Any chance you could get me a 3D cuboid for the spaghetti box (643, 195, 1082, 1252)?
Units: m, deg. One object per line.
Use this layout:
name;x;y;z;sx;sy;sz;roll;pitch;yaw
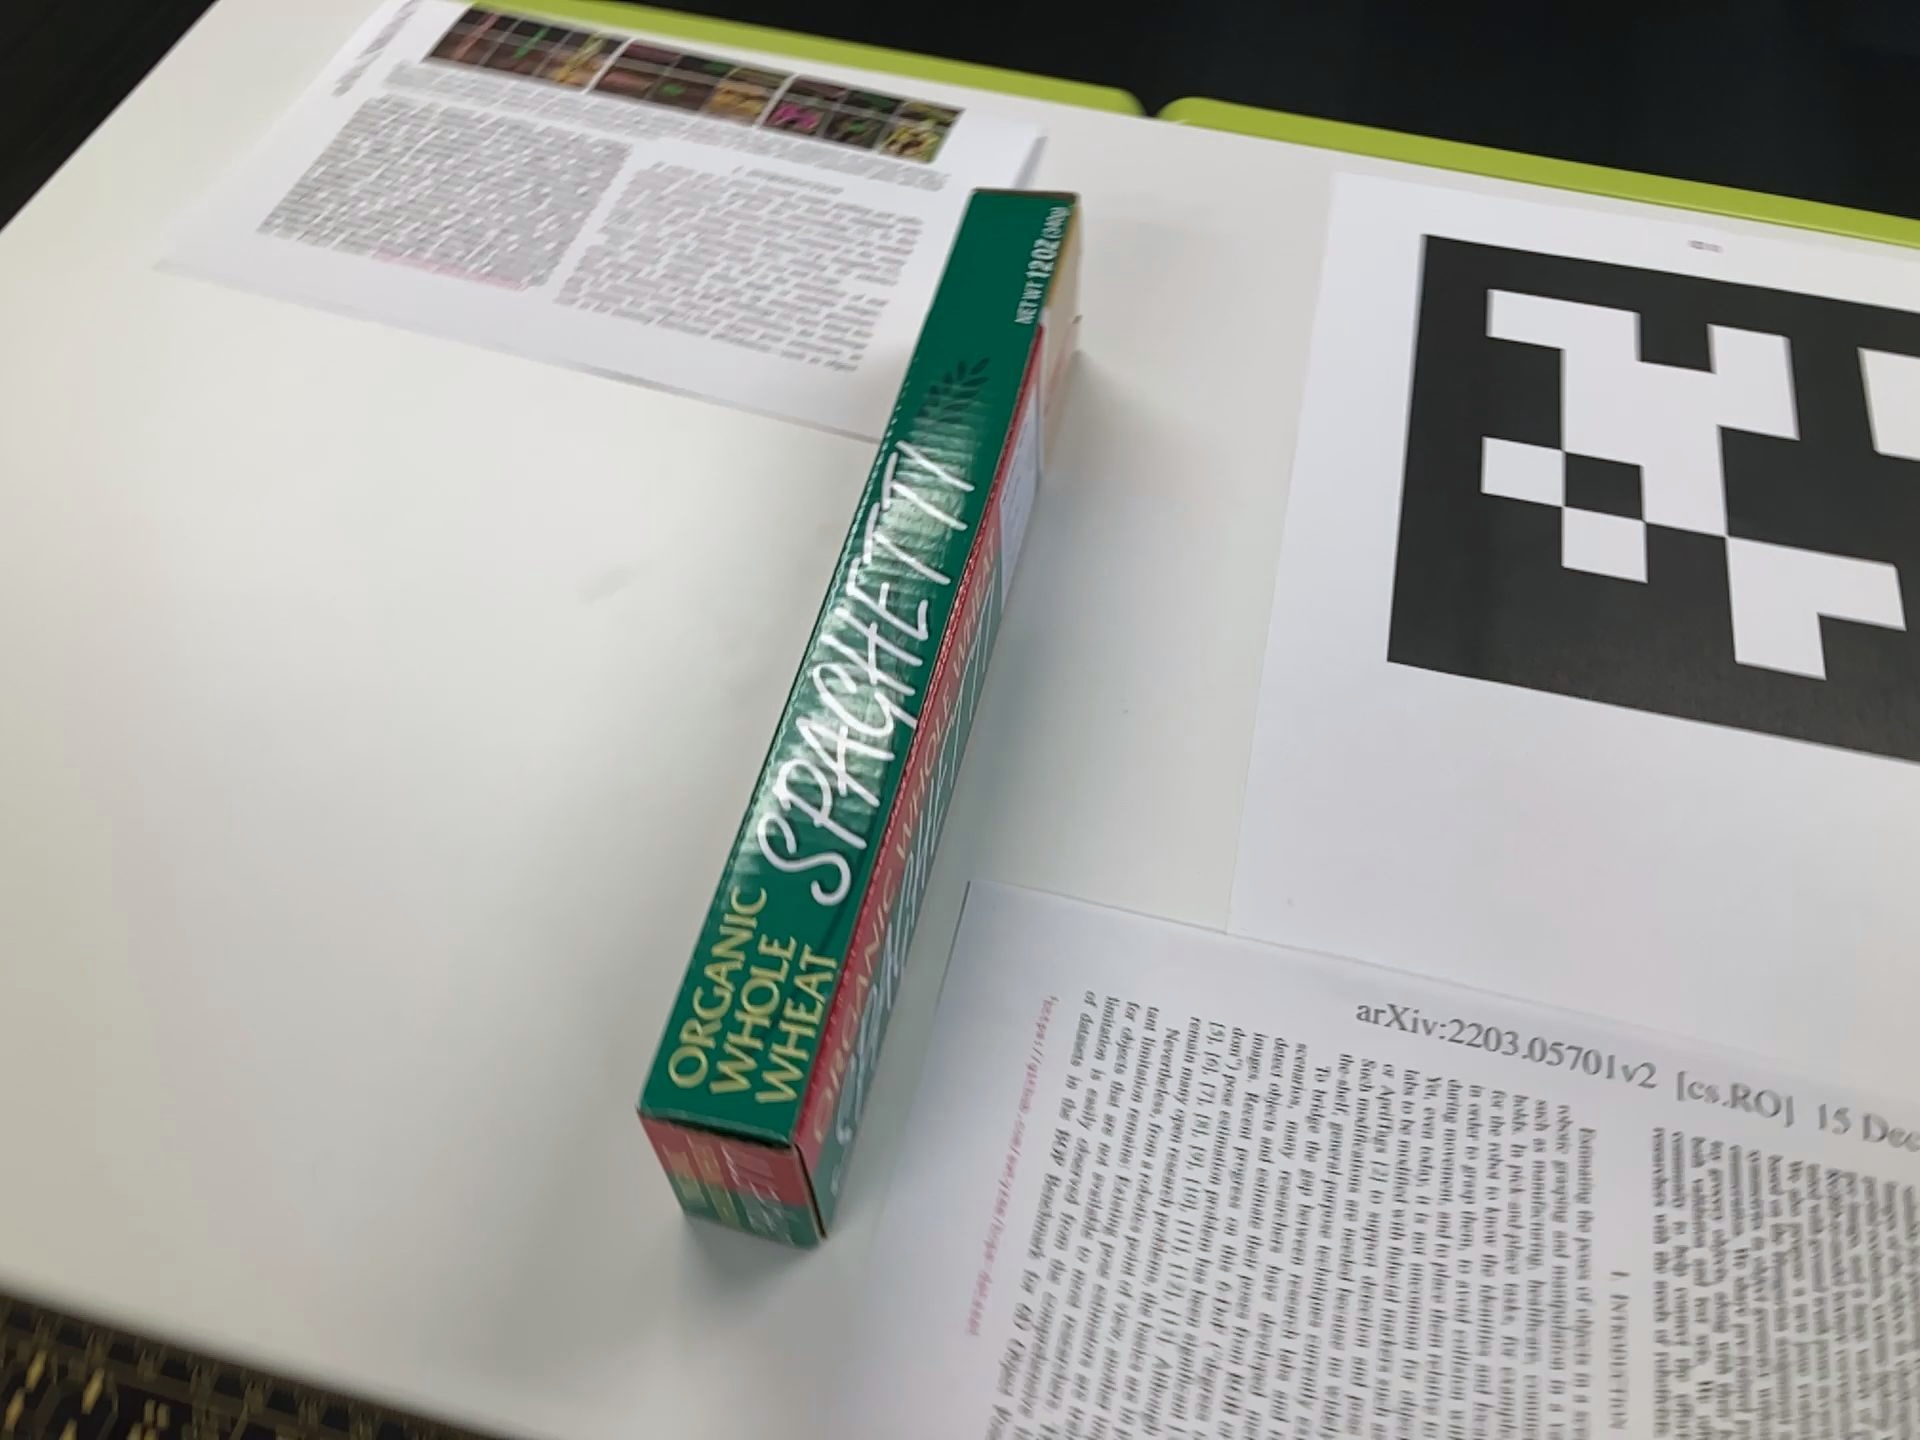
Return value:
spaghetti box;-0.010;-0.018;0.343;0.028;0.050;0.250;9;55;10
